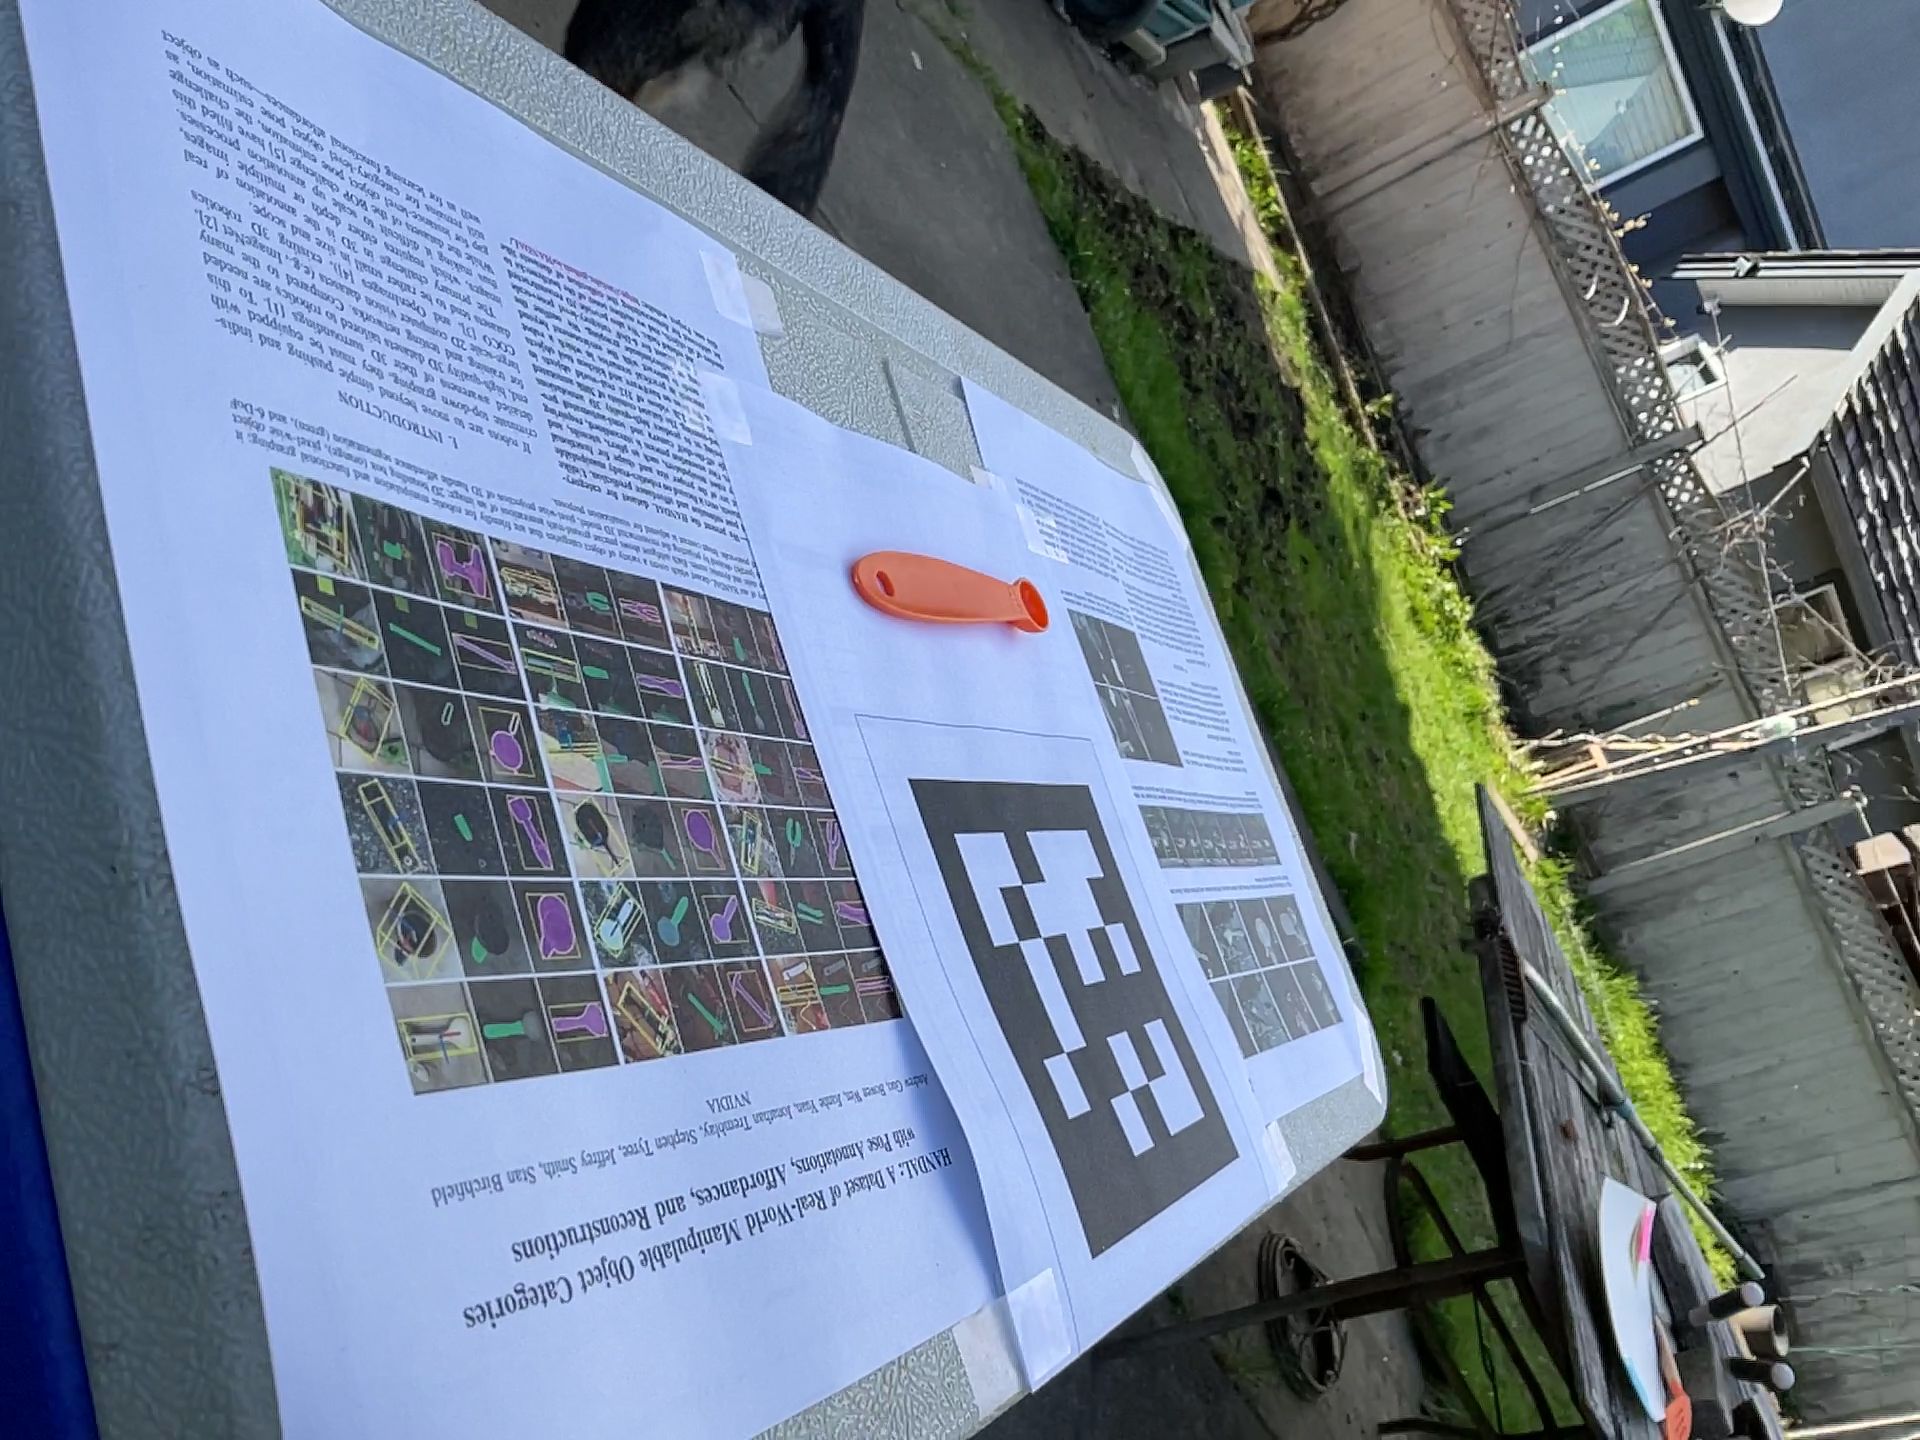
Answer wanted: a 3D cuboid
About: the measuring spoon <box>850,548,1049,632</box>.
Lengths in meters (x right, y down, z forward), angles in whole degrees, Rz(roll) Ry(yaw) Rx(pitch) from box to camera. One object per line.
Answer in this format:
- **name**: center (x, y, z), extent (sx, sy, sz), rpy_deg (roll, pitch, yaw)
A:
- **measuring spoon**: center (-0.003, -0.037, 0.485), extent (0.117, 0.011, 0.021), rpy_deg (1, 67, -61)
